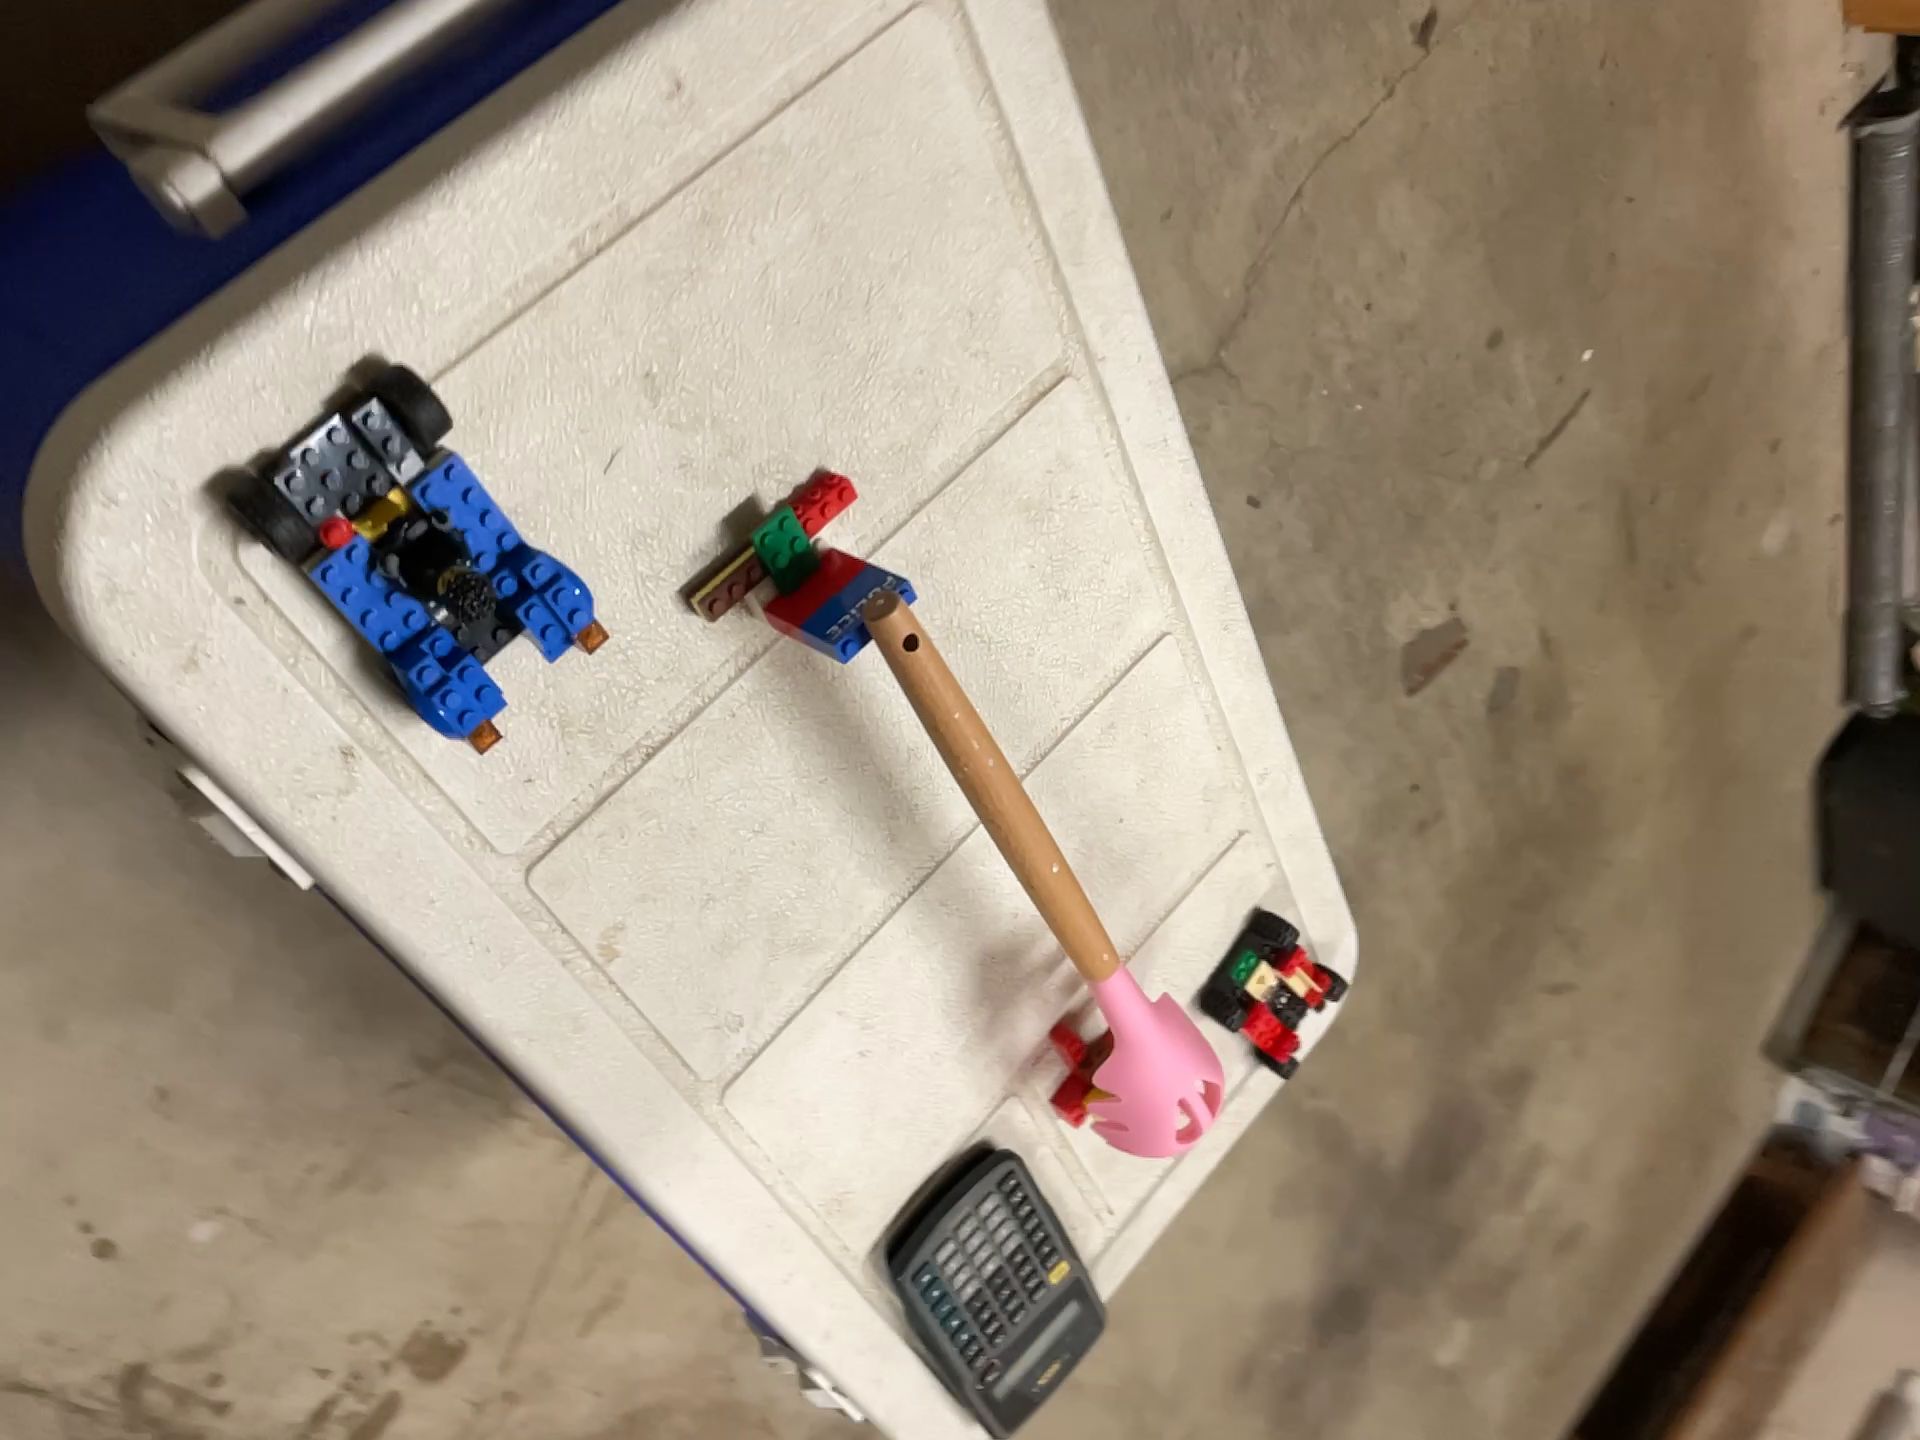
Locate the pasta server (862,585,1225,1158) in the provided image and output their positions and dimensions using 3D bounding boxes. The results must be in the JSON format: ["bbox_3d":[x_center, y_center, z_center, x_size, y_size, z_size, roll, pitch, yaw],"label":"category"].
[{"bbox_3d":[0.035,0.068,0.568,0.060,0.040,0.316,-45,131,-17],"label":"pasta server"}]
